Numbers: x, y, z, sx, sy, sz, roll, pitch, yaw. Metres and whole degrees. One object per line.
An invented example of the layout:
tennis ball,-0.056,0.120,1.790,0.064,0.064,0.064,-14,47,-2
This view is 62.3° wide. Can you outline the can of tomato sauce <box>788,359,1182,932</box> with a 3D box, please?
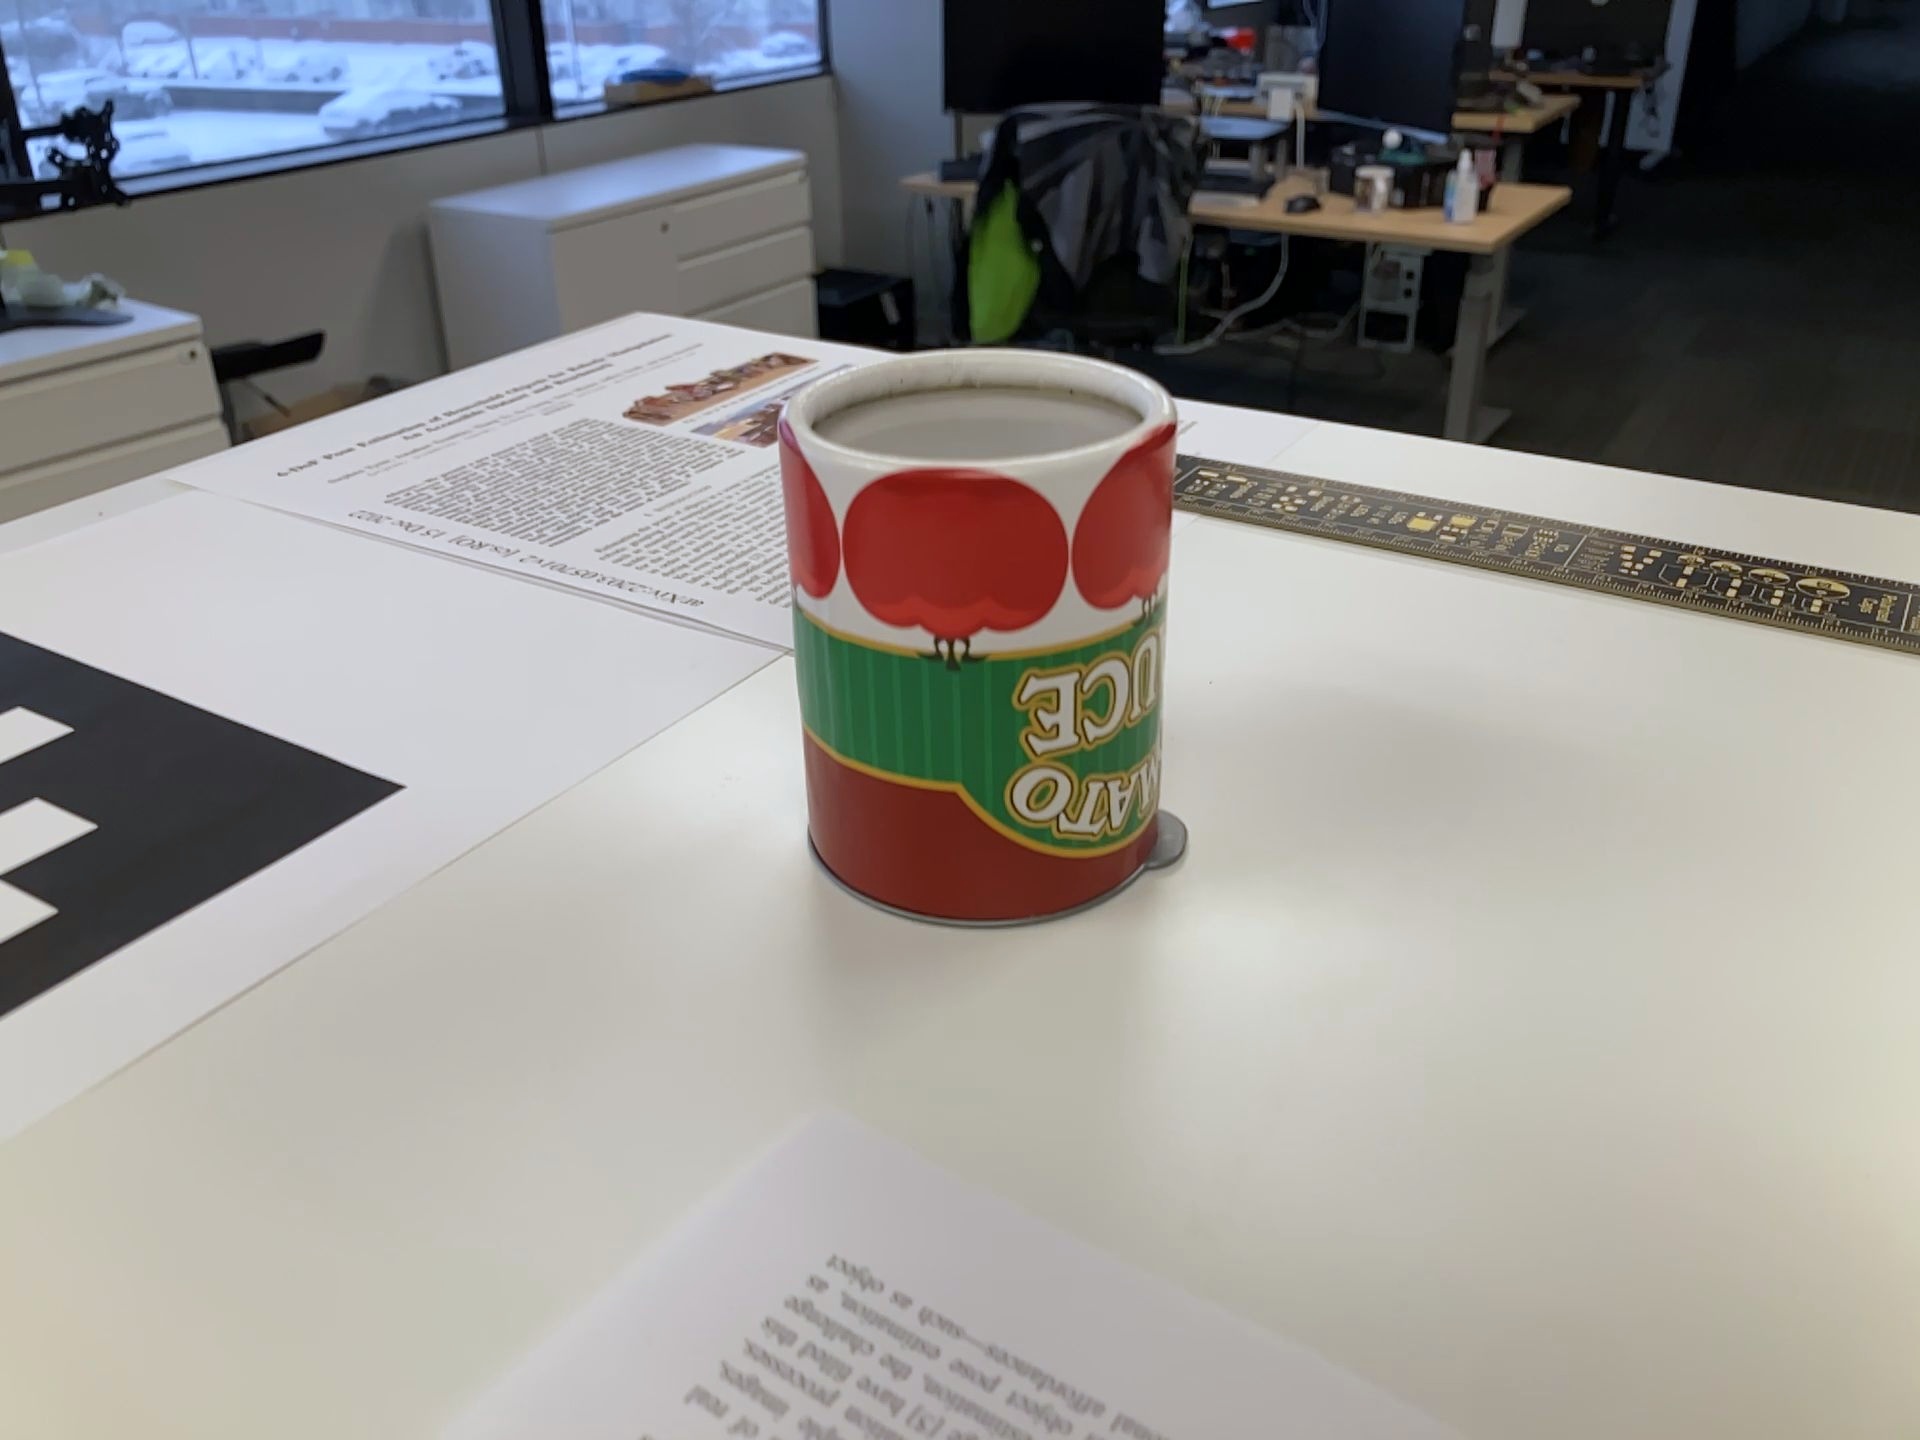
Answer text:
can of tomato sauce,0.005,-0.015,0.281,0.071,0.083,0.071,1,26,0
